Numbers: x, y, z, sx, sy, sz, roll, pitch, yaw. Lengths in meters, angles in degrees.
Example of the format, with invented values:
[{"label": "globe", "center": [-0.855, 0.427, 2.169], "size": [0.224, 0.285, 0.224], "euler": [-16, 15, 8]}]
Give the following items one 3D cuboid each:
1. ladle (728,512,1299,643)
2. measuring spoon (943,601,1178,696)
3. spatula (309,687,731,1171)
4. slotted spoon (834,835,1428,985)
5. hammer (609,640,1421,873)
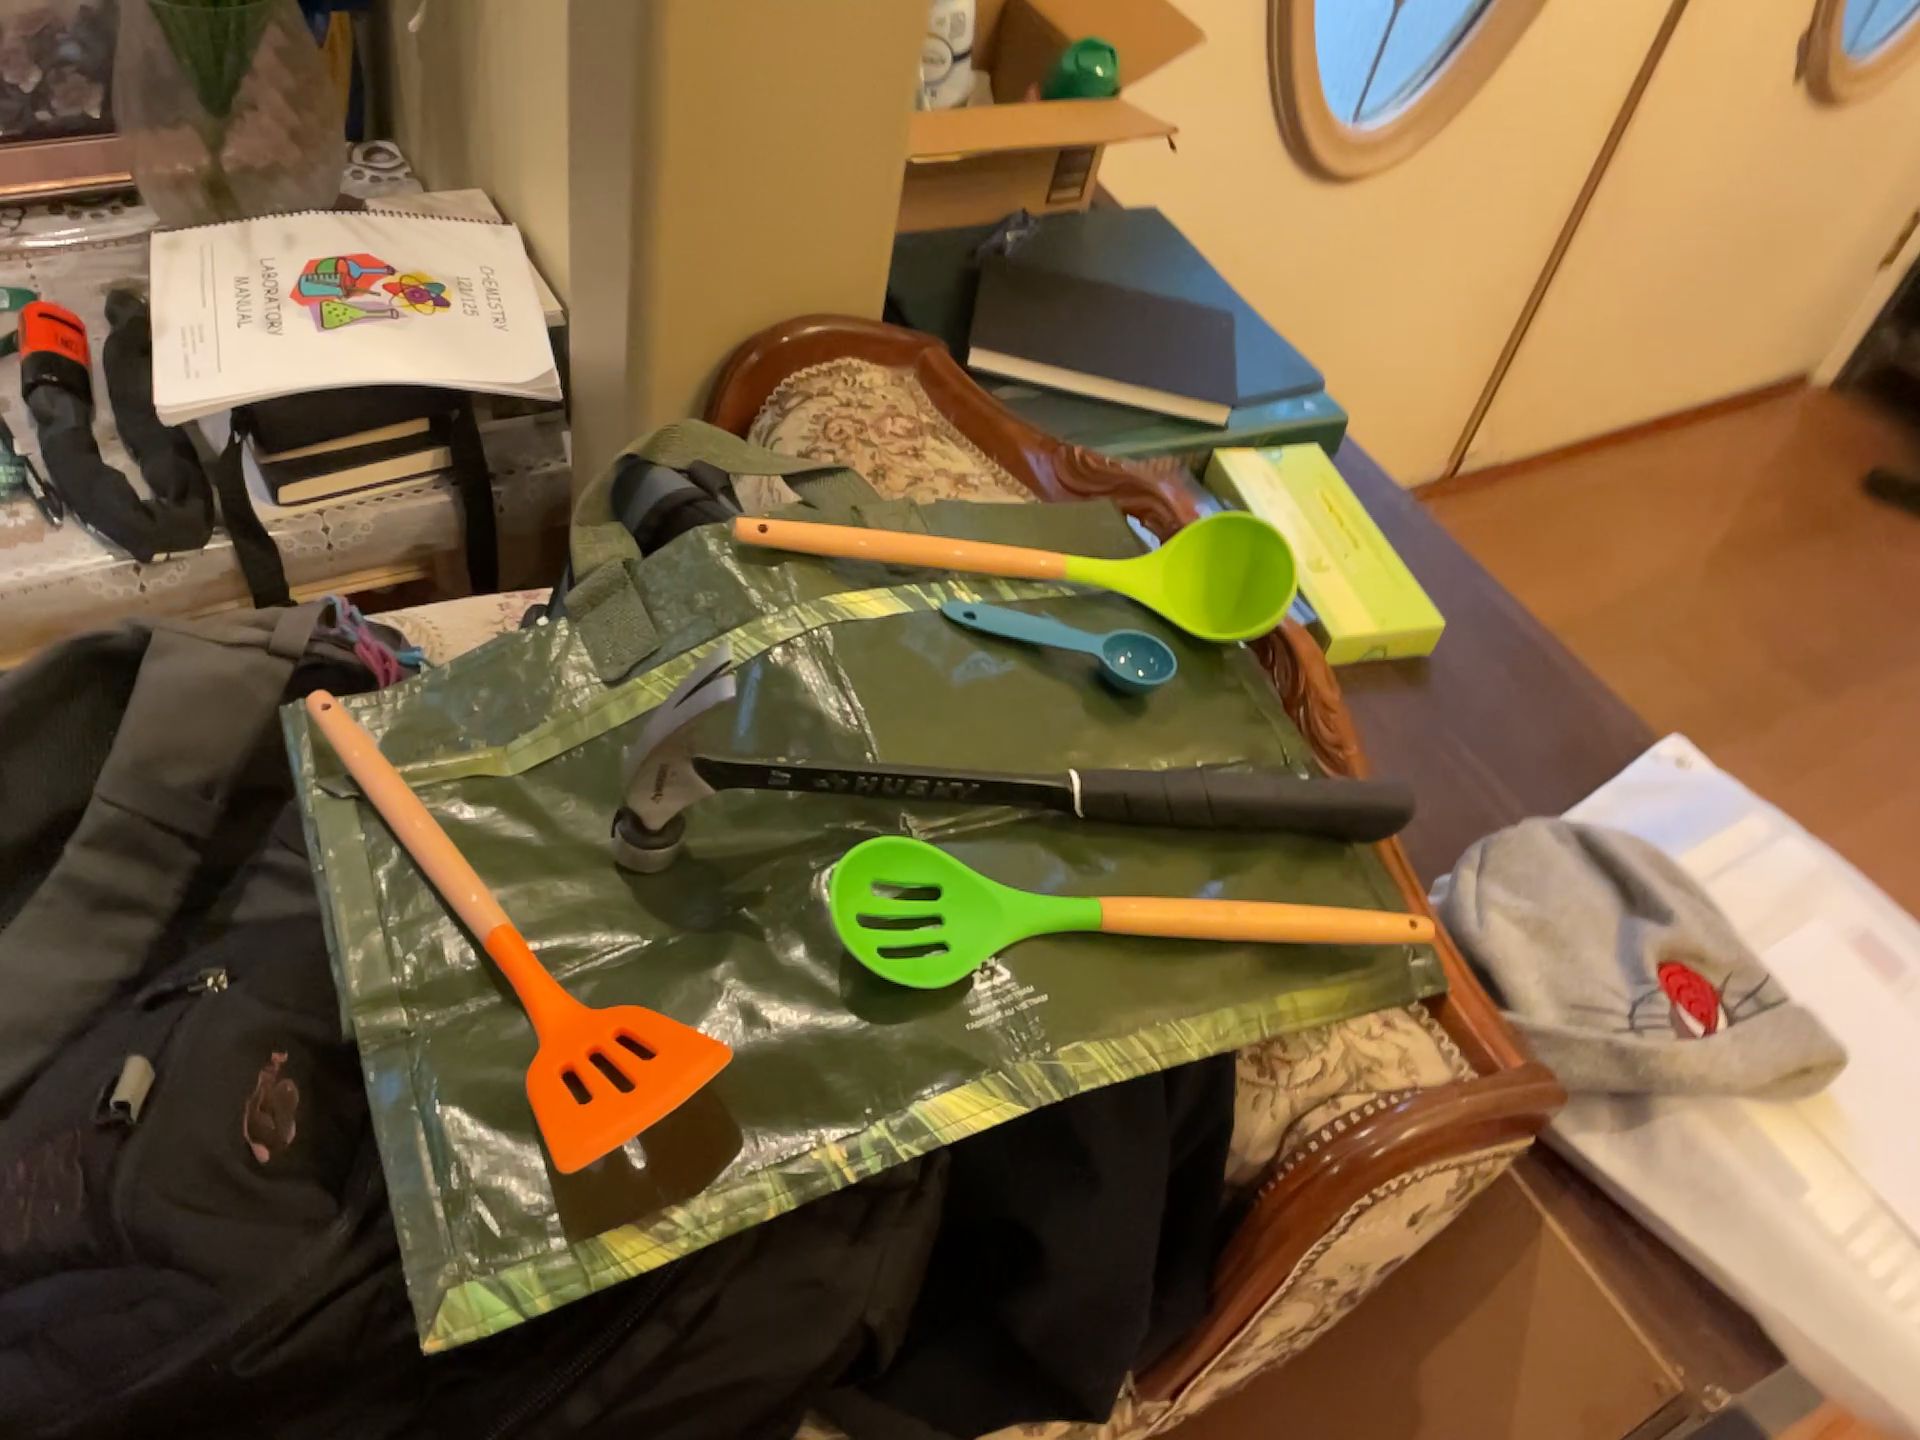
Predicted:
[{"label": "ladle", "center": [0.035, -0.090, 0.865], "size": [0.320, 0.062, 0.078], "euler": [5, 70, -18]}, {"label": "measuring spoon", "center": [0.052, -0.038, 0.846], "size": [0.128, 0.021, 0.042], "euler": [15, 43, 0]}, {"label": "spatula", "center": [-0.222, 0.076, 0.718], "size": [0.081, 0.041, 0.323], "euler": [-31, 56, -26]}, {"label": "slotted spoon", "center": [0.087, 0.094, 0.744], "size": [0.313, 0.031, 0.070], "euler": [5, 60, -21]}, {"label": "hammer", "center": [0.043, 0.032, 0.775], "size": [0.408, 0.149, 0.036], "euler": [4, 54, -18]}]
